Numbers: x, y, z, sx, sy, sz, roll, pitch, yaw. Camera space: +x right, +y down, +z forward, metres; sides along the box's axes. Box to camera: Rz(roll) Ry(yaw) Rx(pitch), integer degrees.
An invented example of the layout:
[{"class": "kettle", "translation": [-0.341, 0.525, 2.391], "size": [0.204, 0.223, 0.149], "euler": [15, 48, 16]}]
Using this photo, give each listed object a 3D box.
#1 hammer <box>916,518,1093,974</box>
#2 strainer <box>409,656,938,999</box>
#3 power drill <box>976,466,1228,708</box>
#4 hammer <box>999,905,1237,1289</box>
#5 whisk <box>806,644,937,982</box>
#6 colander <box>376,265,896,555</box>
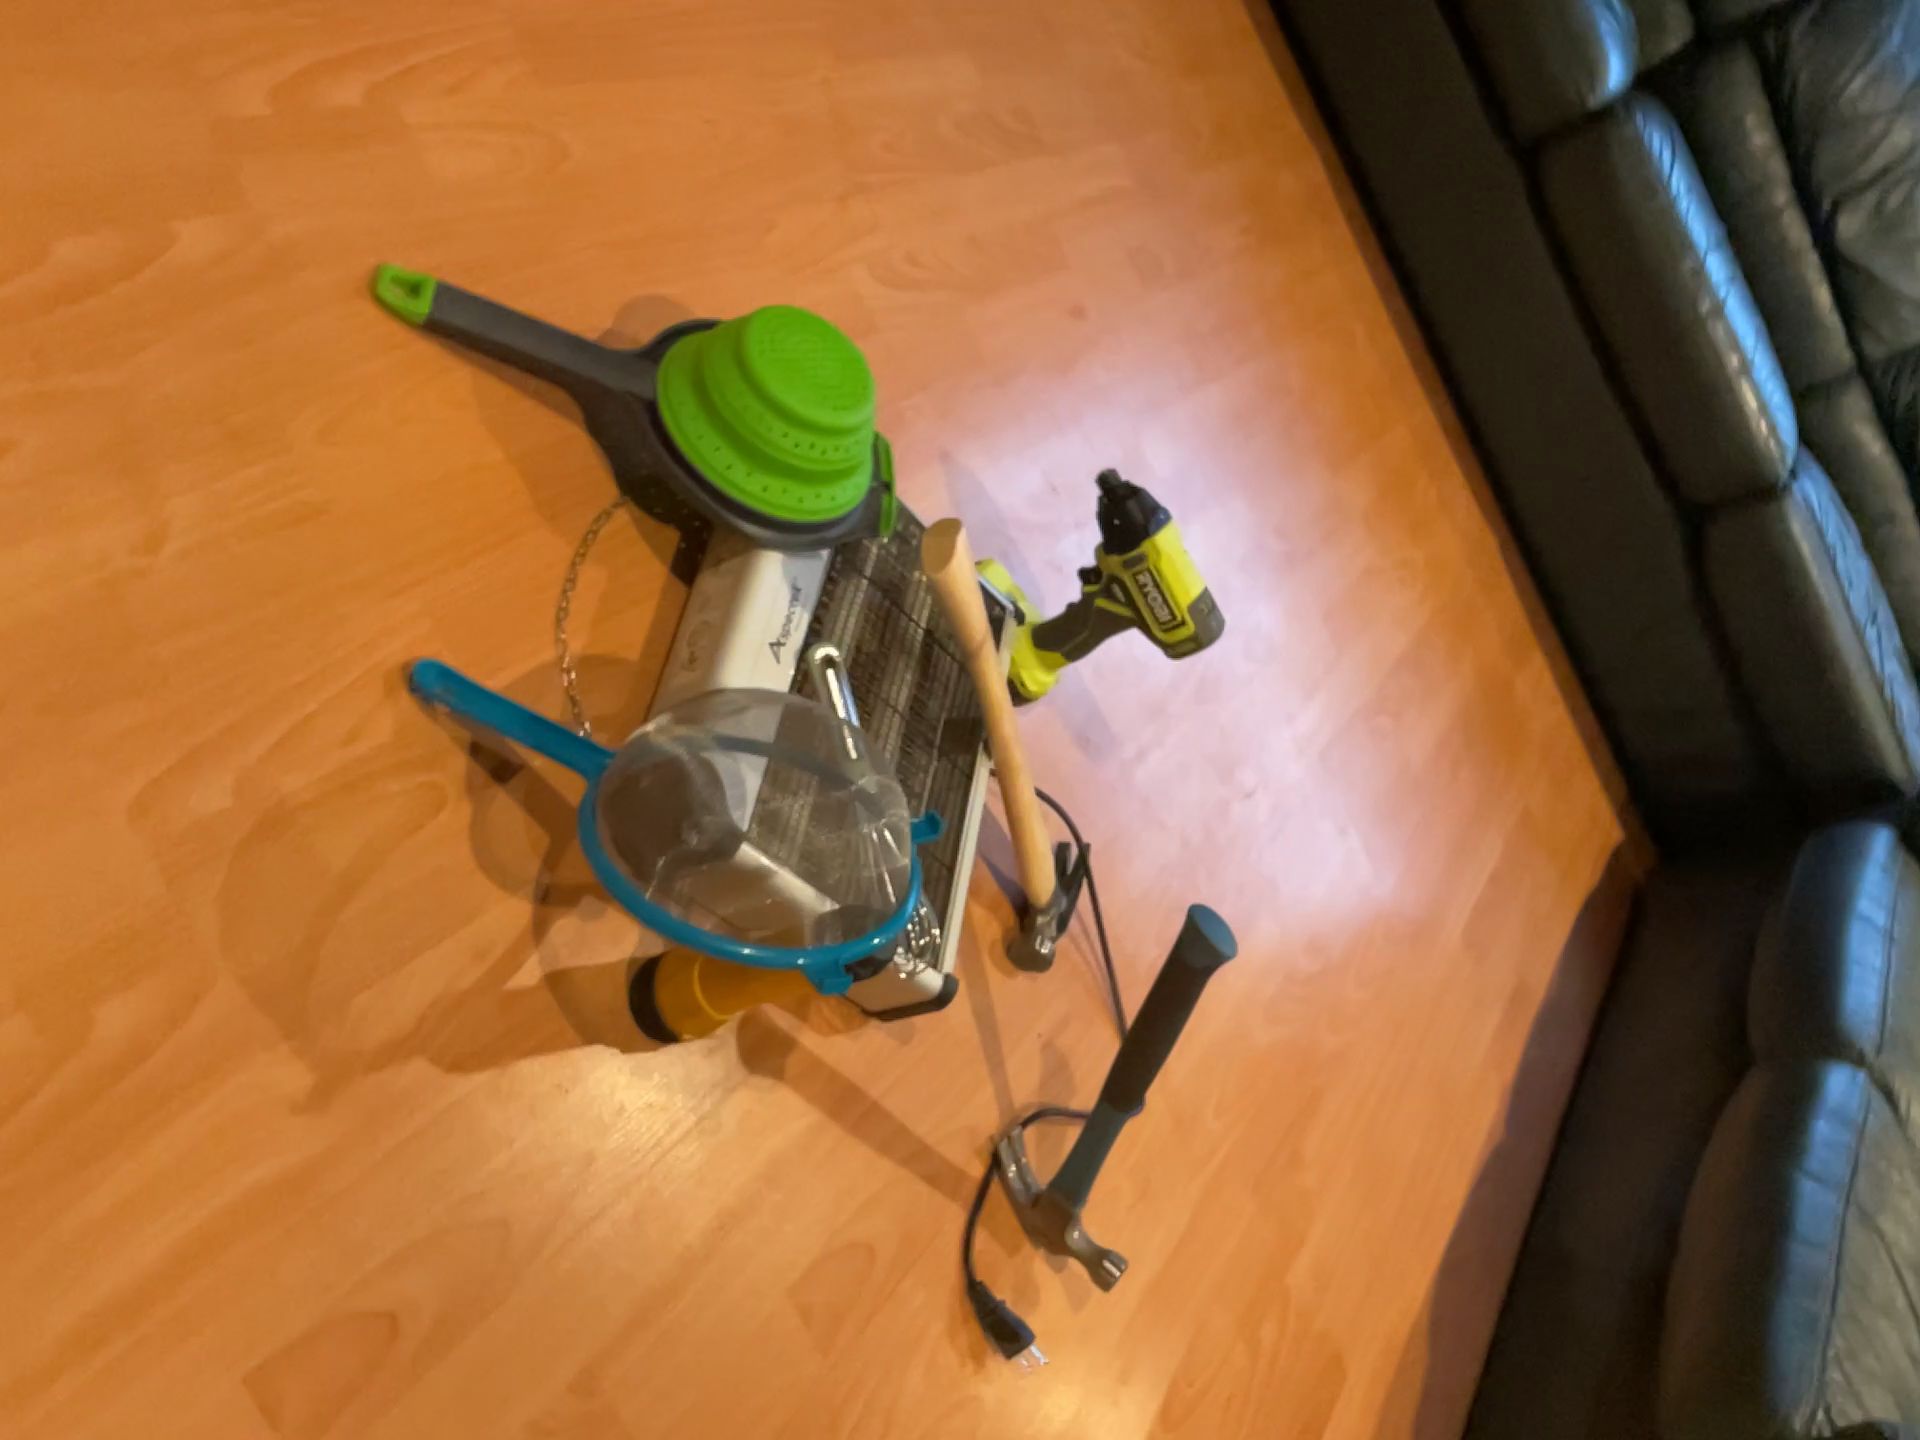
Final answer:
[{"class": "hammer", "translation": [0.037, 0.014, 1.286], "size": [0.146, 0.038, 0.410], "euler": [-63, 146, -44]}, {"class": "strainer", "translation": [-0.171, 0.016, 0.957], "size": [0.340, 0.095, 0.211], "euler": [27, 31, 4]}, {"class": "power drill", "translation": [0.101, -0.111, 1.397], "size": [0.171, 0.223, 0.080], "euler": [60, 37, -11]}, {"class": "hammer", "translation": [0.124, 0.274, 1.192], "size": [0.128, 0.330, 0.033], "euler": [34, 31, 21]}, {"class": "whisk", "translation": [-0.067, 0.062, 1.118], "size": [0.058, 0.059, 0.246], "euler": [-11, 77, -23]}, {"class": "colander", "translation": [-0.198, -0.251, 1.126], "size": [0.397, 0.094, 0.204], "euler": [18, 51, -27]}]
